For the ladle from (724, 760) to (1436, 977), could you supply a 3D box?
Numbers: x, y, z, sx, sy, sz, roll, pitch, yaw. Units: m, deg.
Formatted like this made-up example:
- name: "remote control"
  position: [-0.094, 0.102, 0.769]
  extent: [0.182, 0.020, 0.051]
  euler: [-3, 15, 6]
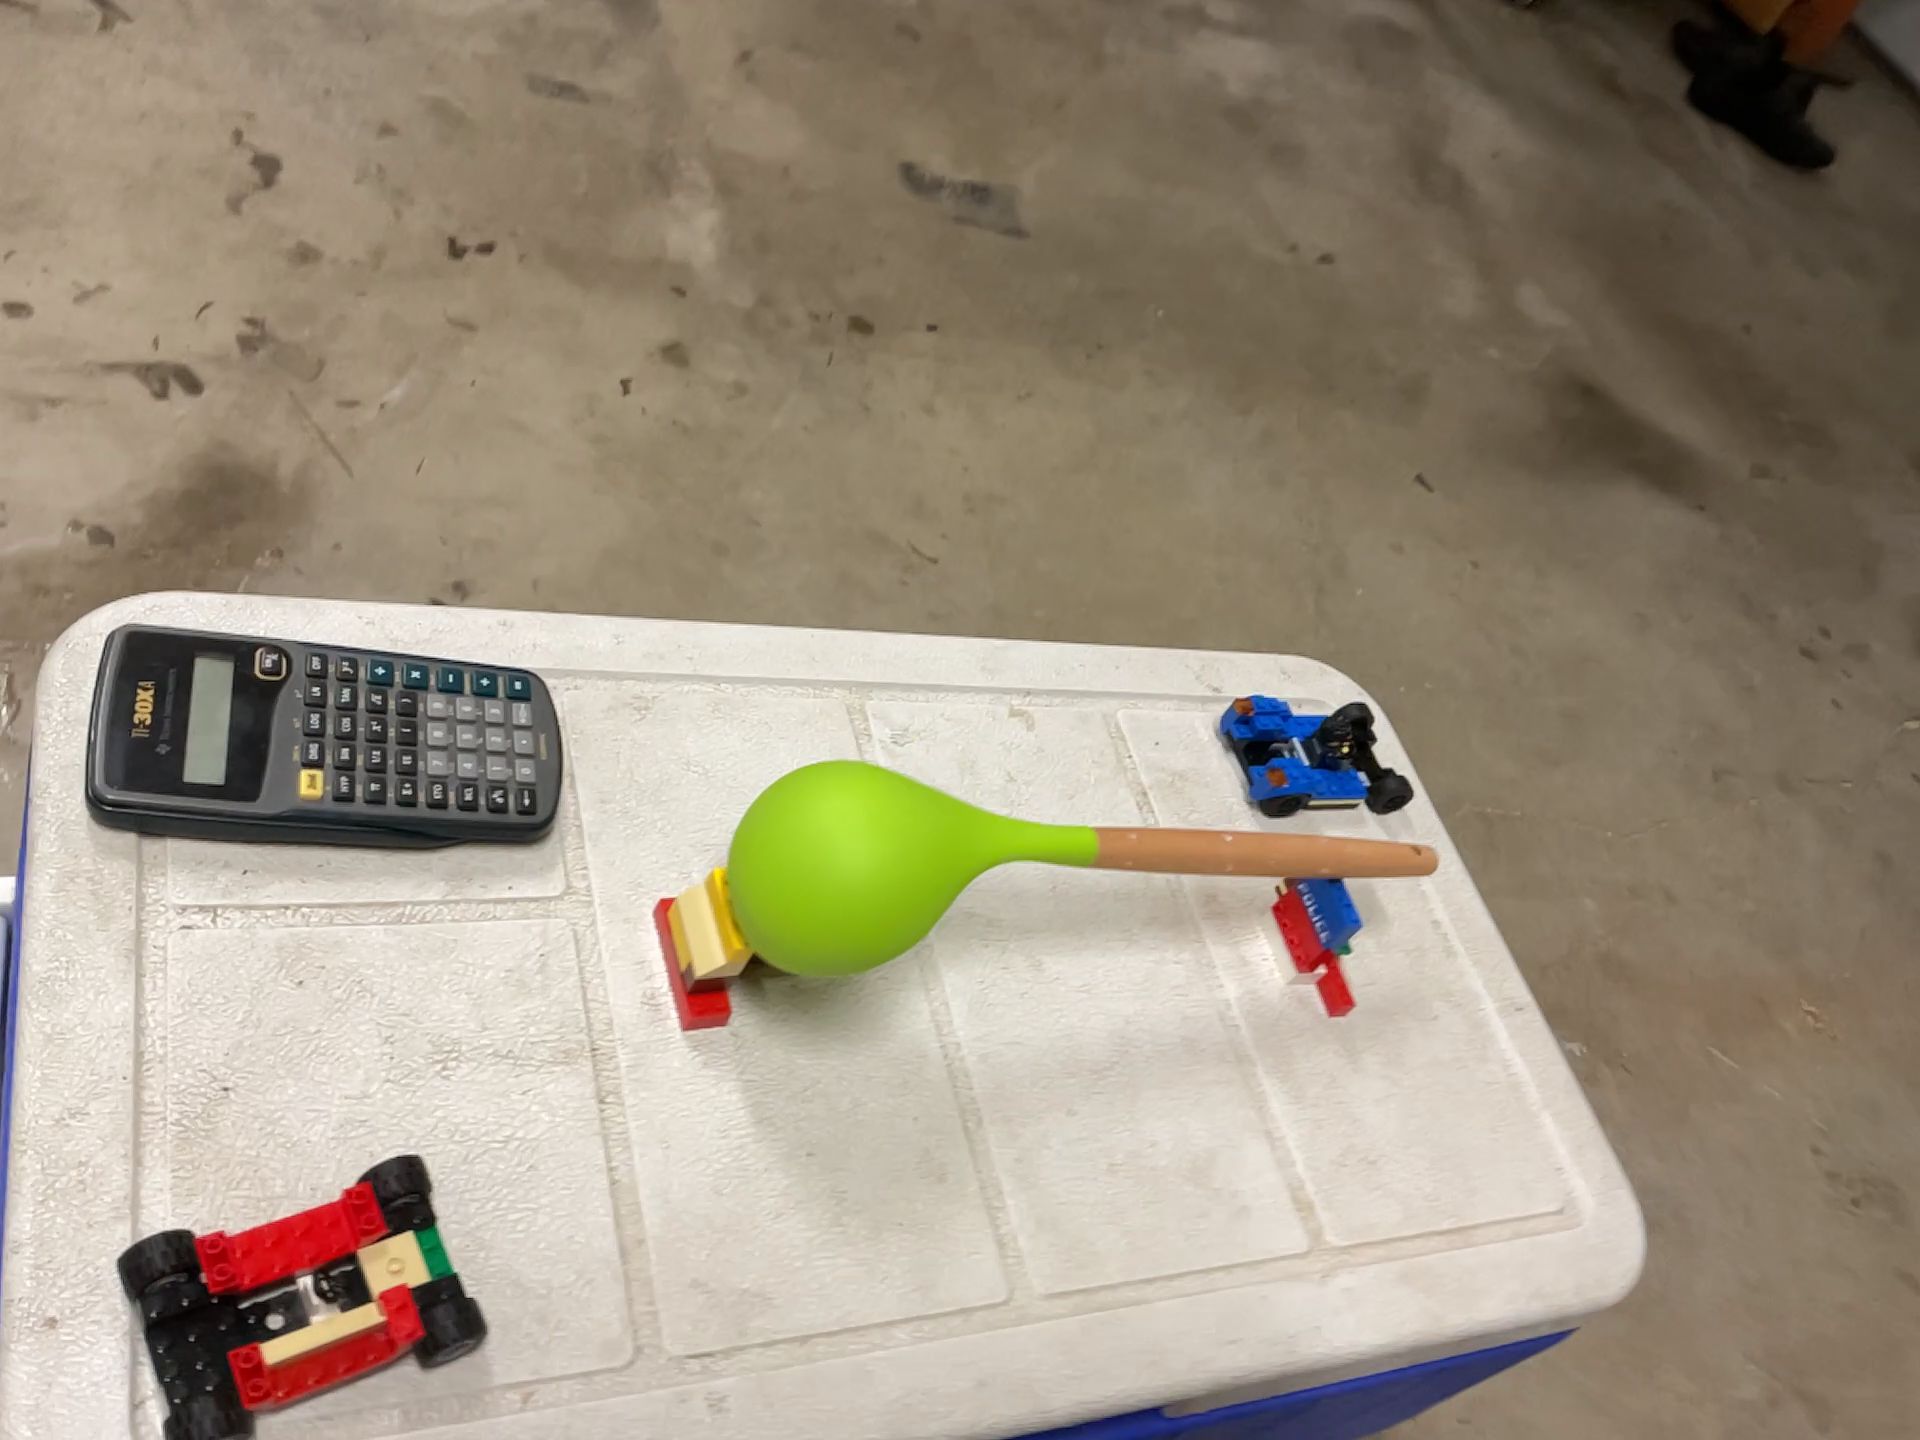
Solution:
- name: "ladle"
  position: [0.062, 0.057, 0.606]
  extent: [0.320, 0.062, 0.078]
  euler: [6, 44, -34]
